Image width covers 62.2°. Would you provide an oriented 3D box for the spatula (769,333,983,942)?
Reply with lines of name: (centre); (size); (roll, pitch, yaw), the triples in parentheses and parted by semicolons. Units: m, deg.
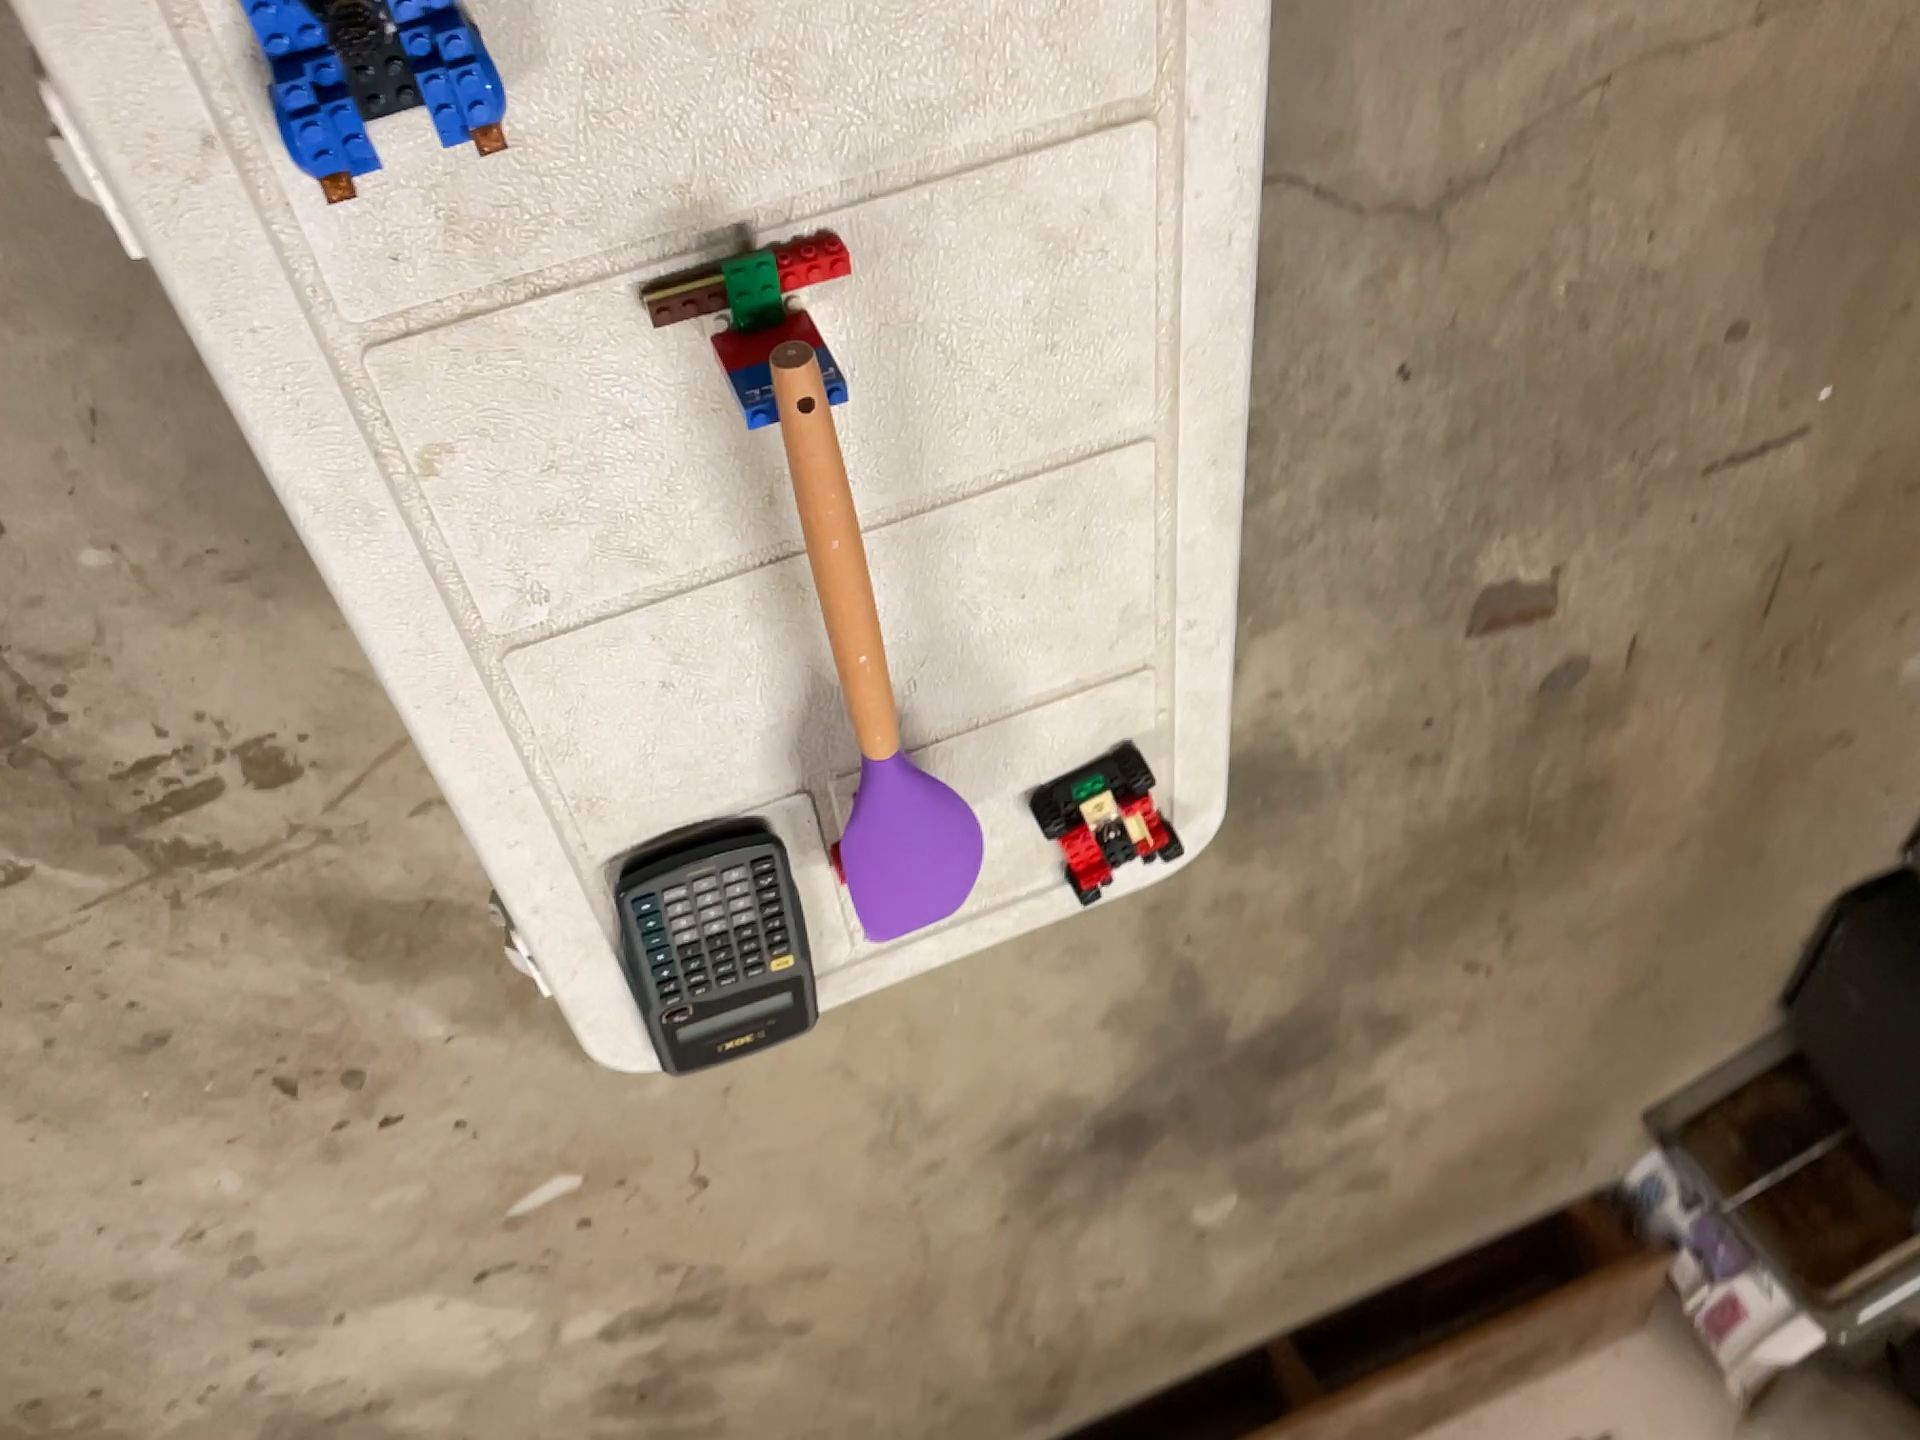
spatula: (-0.031, -0.009, 0.570); (0.060, 0.018, 0.315); (-21, 142, -8)
